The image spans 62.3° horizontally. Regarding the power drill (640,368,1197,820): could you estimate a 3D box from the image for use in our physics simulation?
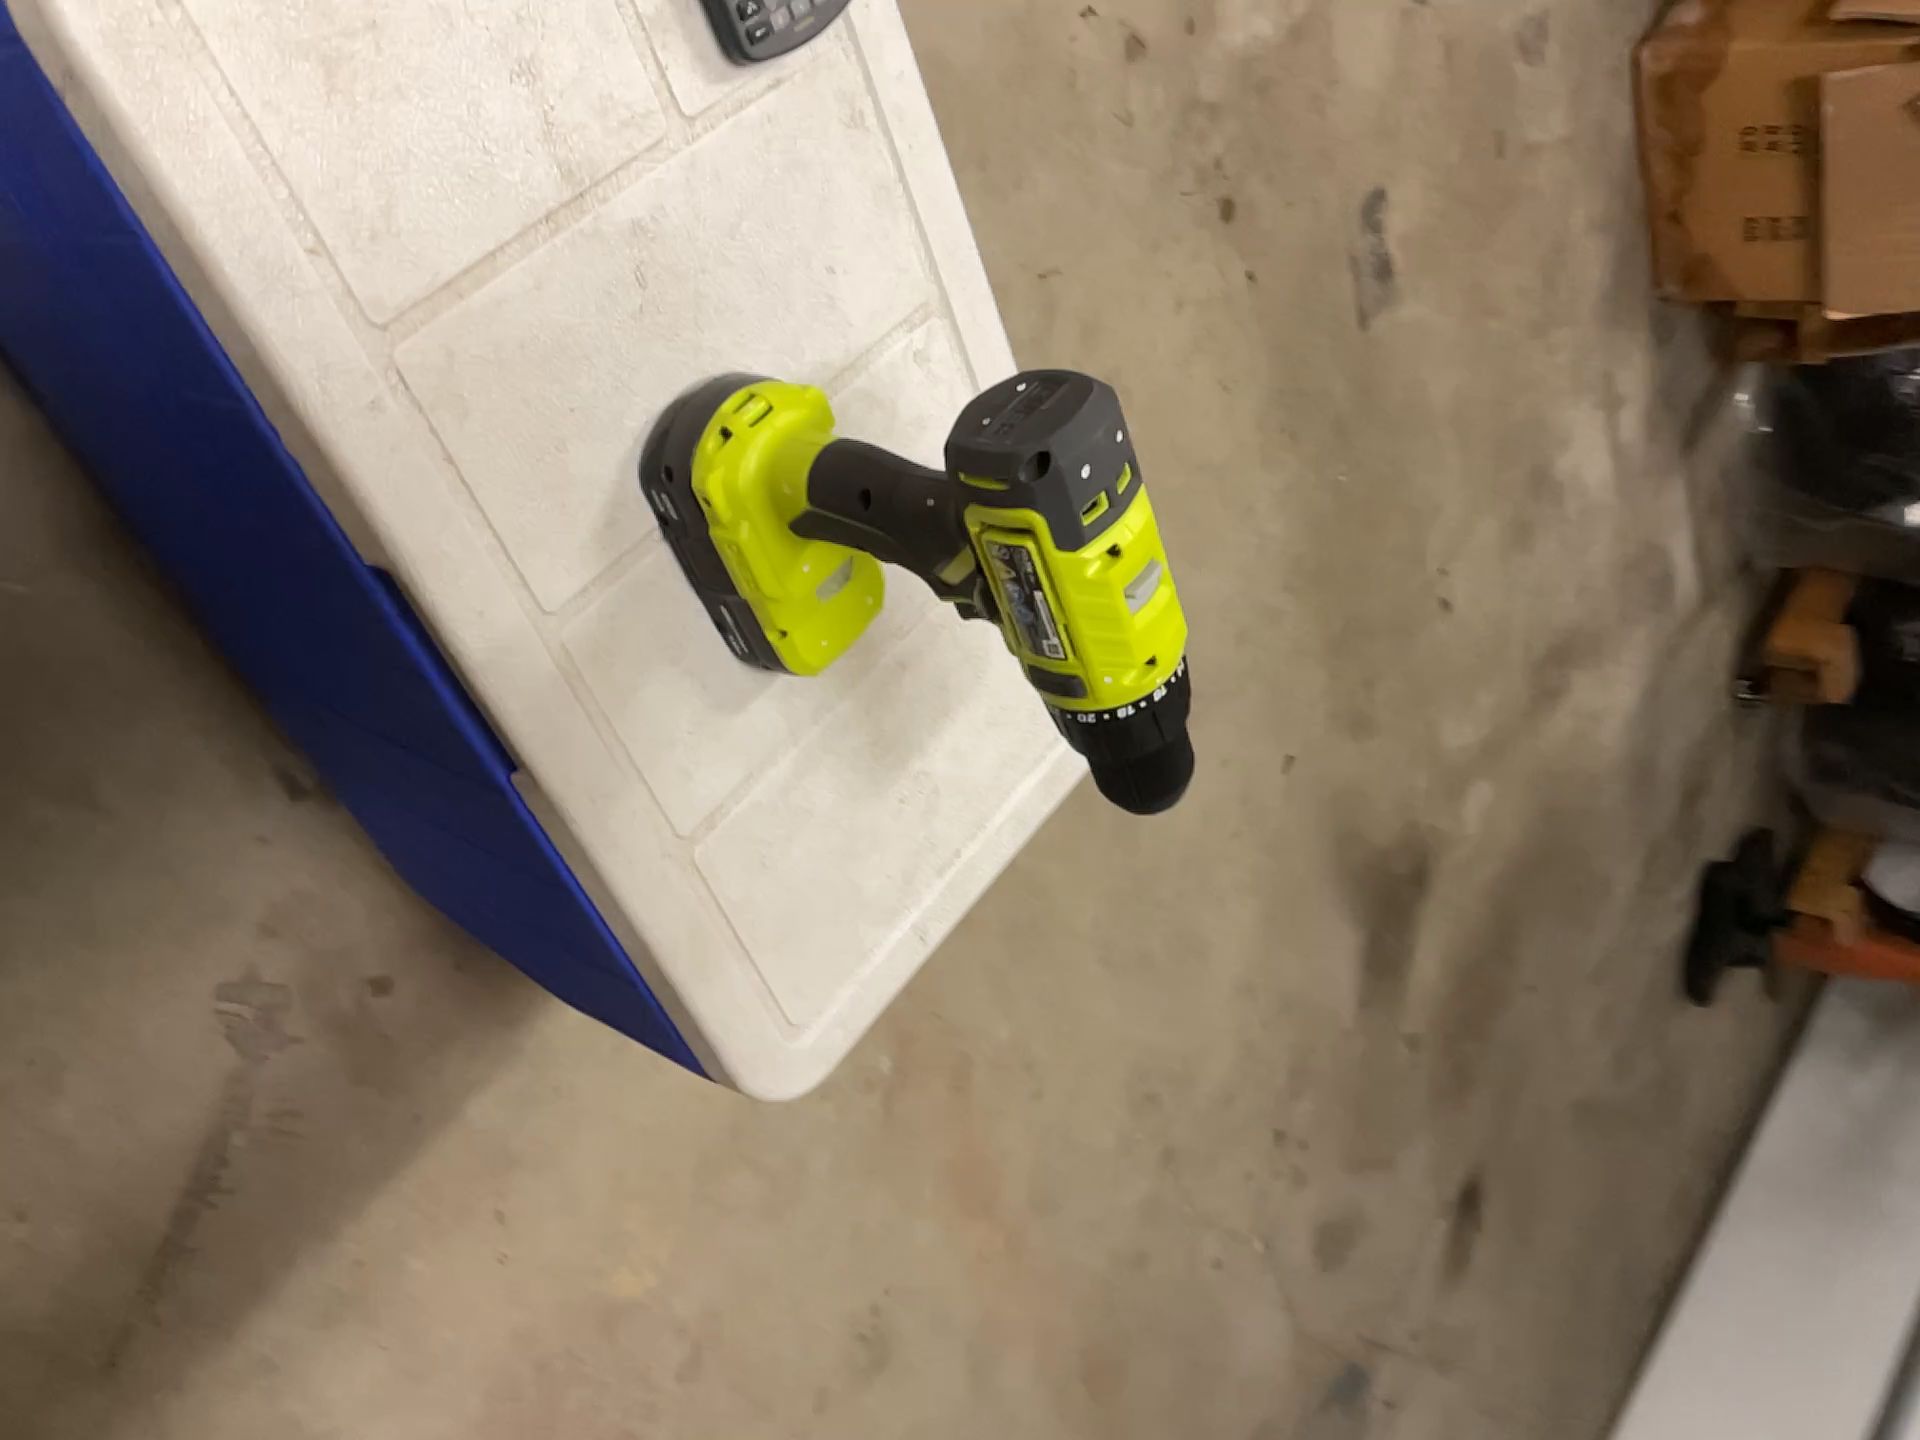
[{"bbox_3d":[-0.009,-0.054,0.646,0.080,0.228,0.190,-48,134,-29],"label":"power drill"}]
